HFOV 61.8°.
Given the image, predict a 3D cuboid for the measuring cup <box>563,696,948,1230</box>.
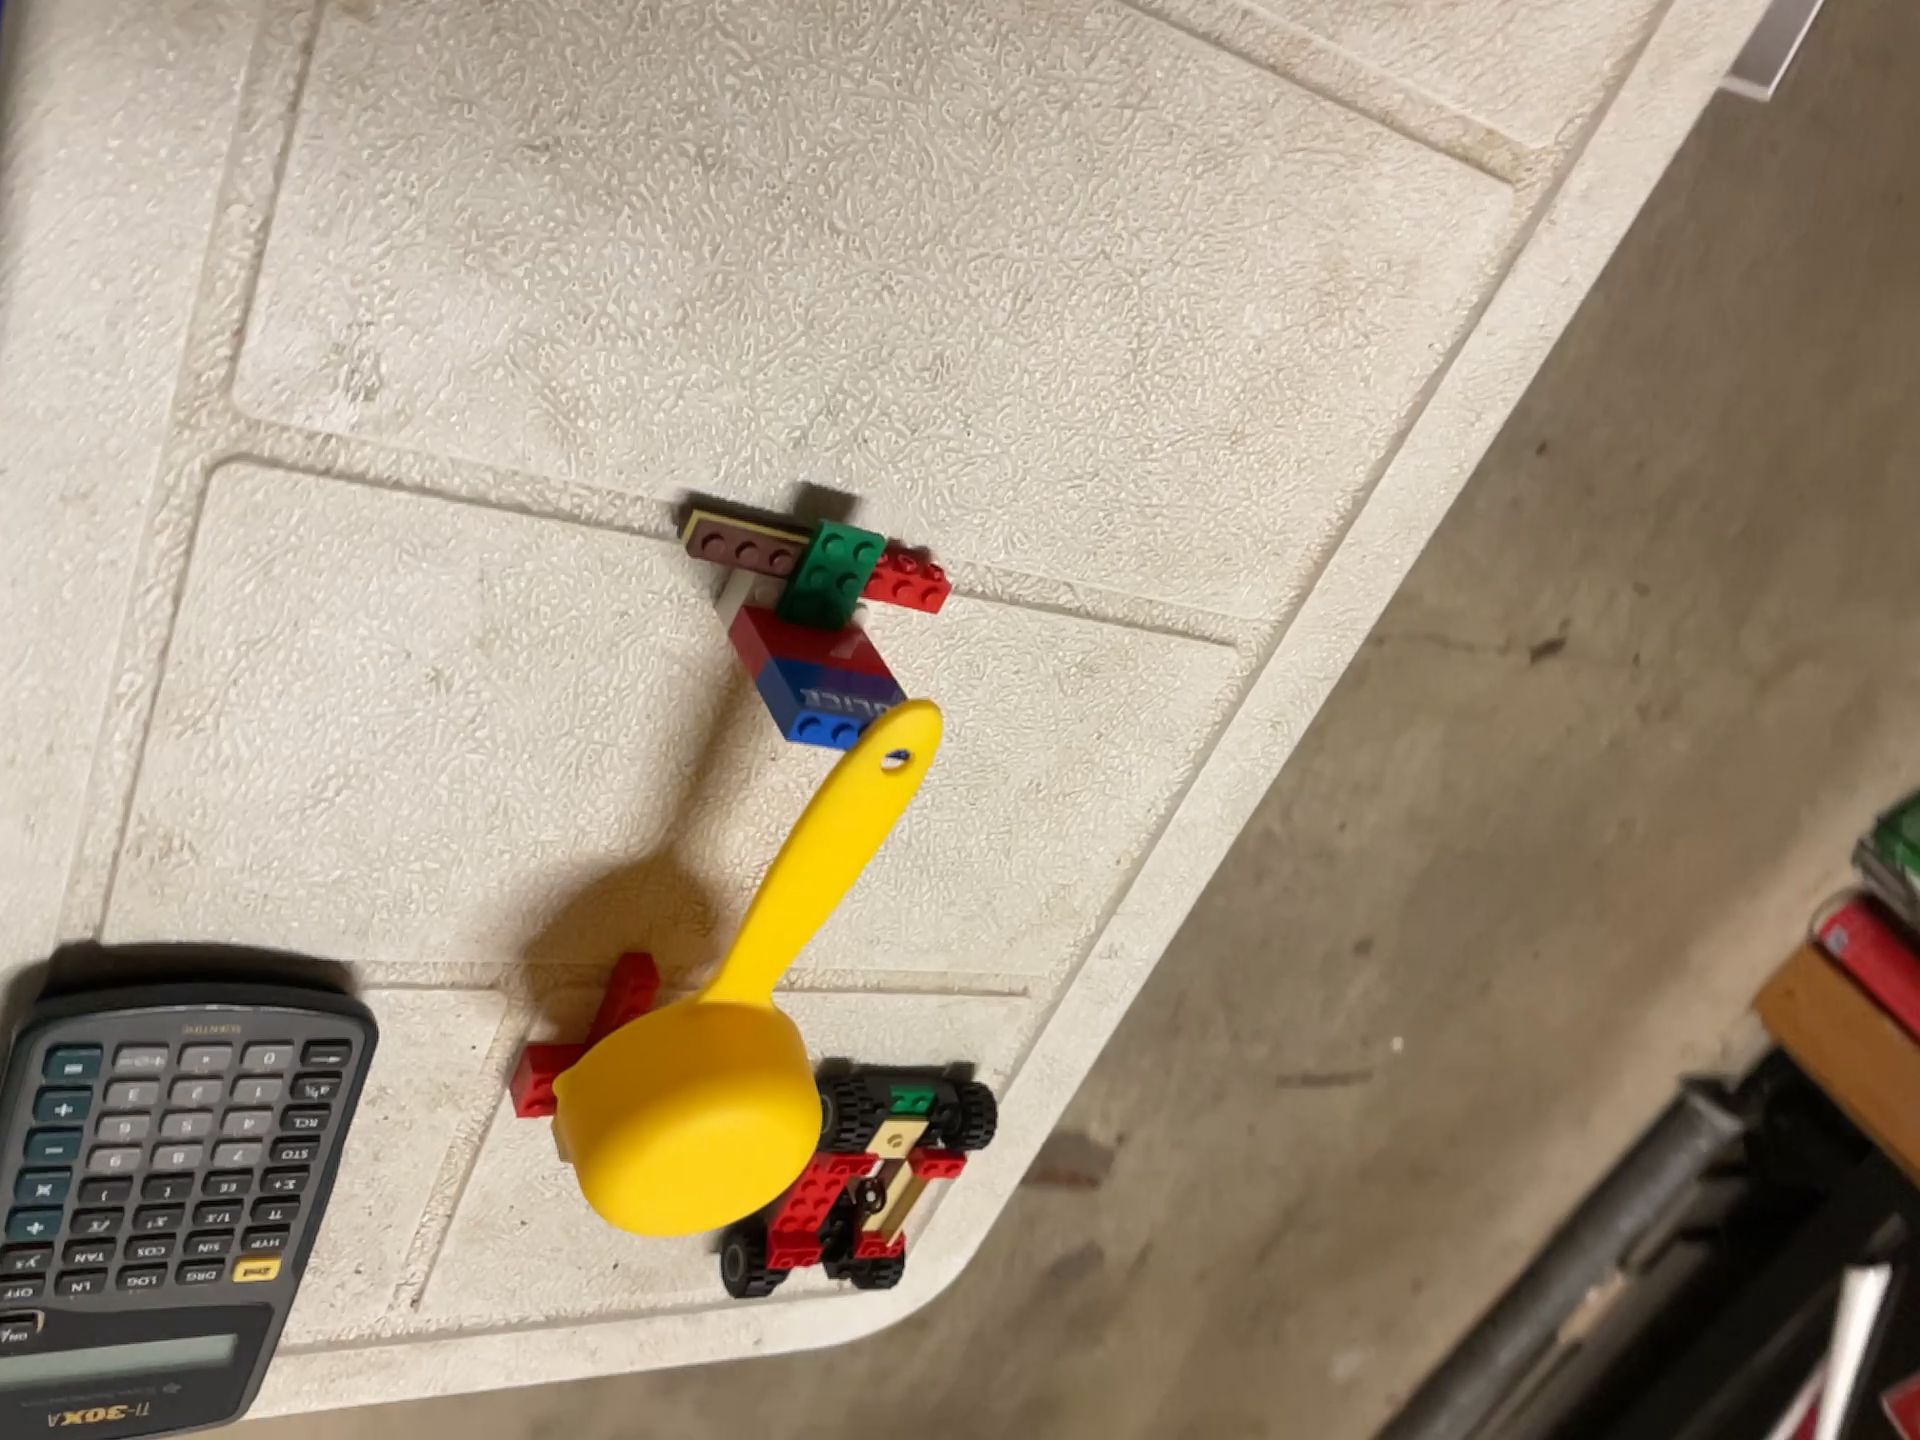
[{"bbox_3d":[-0.039,0.060,0.355,0.062,0.029,0.156,9,127,-35],"label":"measuring cup"}]
